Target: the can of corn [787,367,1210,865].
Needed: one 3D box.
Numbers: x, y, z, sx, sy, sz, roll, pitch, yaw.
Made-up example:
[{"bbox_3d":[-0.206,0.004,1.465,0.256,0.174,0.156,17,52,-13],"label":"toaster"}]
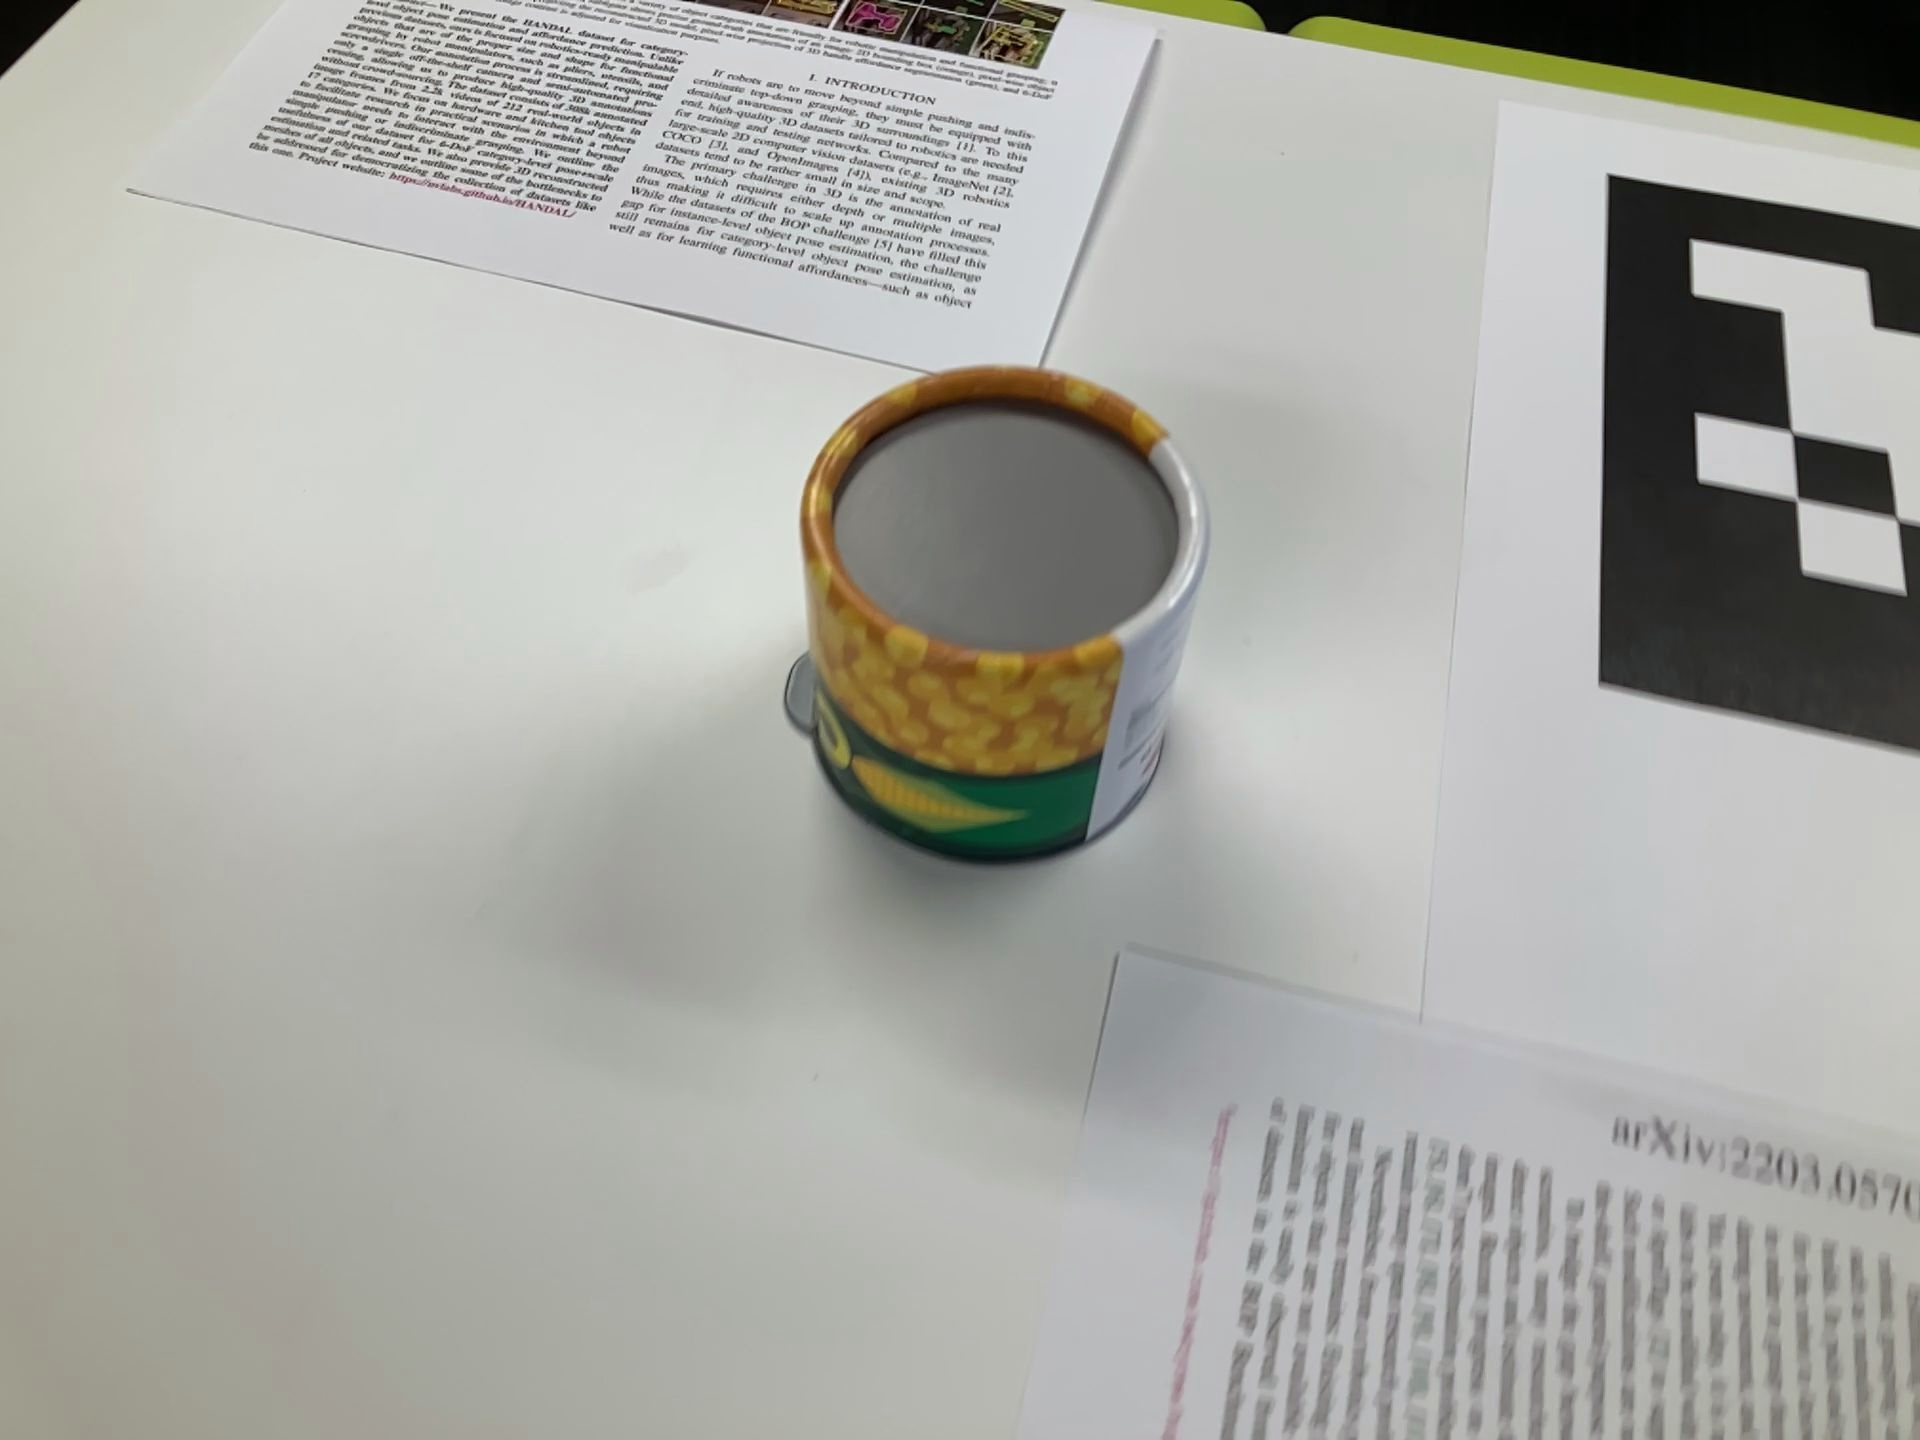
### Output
[{"bbox_3d":[0.004,-0.018,0.274,0.071,0.058,0.071,1,56,-2],"label":"can of corn"}]
